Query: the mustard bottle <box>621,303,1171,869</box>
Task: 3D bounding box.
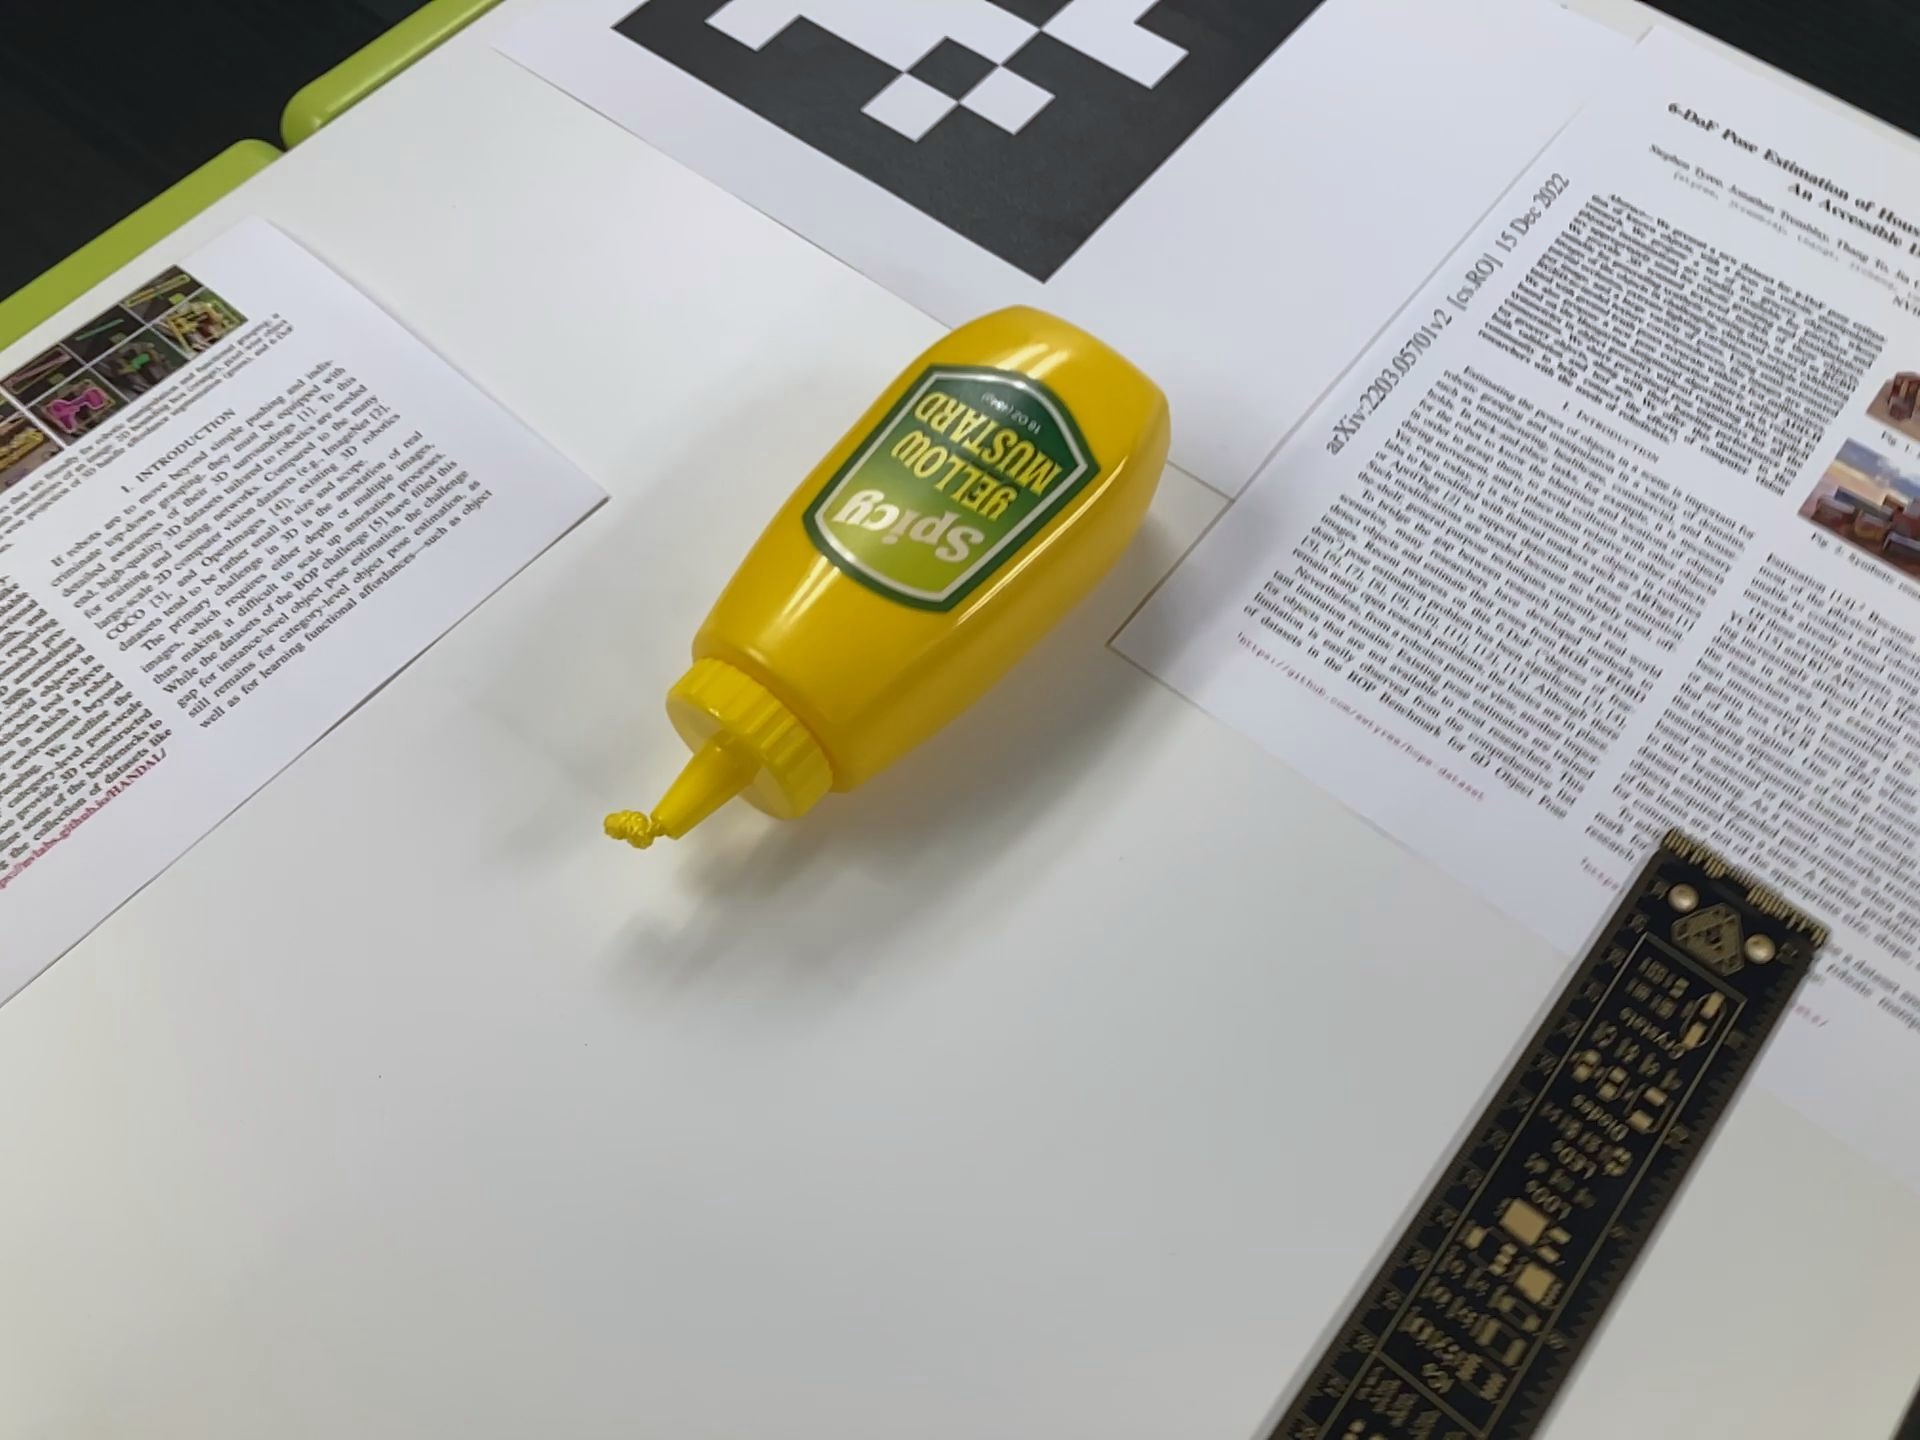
[{"bbox_3d":[-0.018,-0.026,0.355,0.065,0.049,0.160,34,67,16],"label":"mustard bottle"}]
